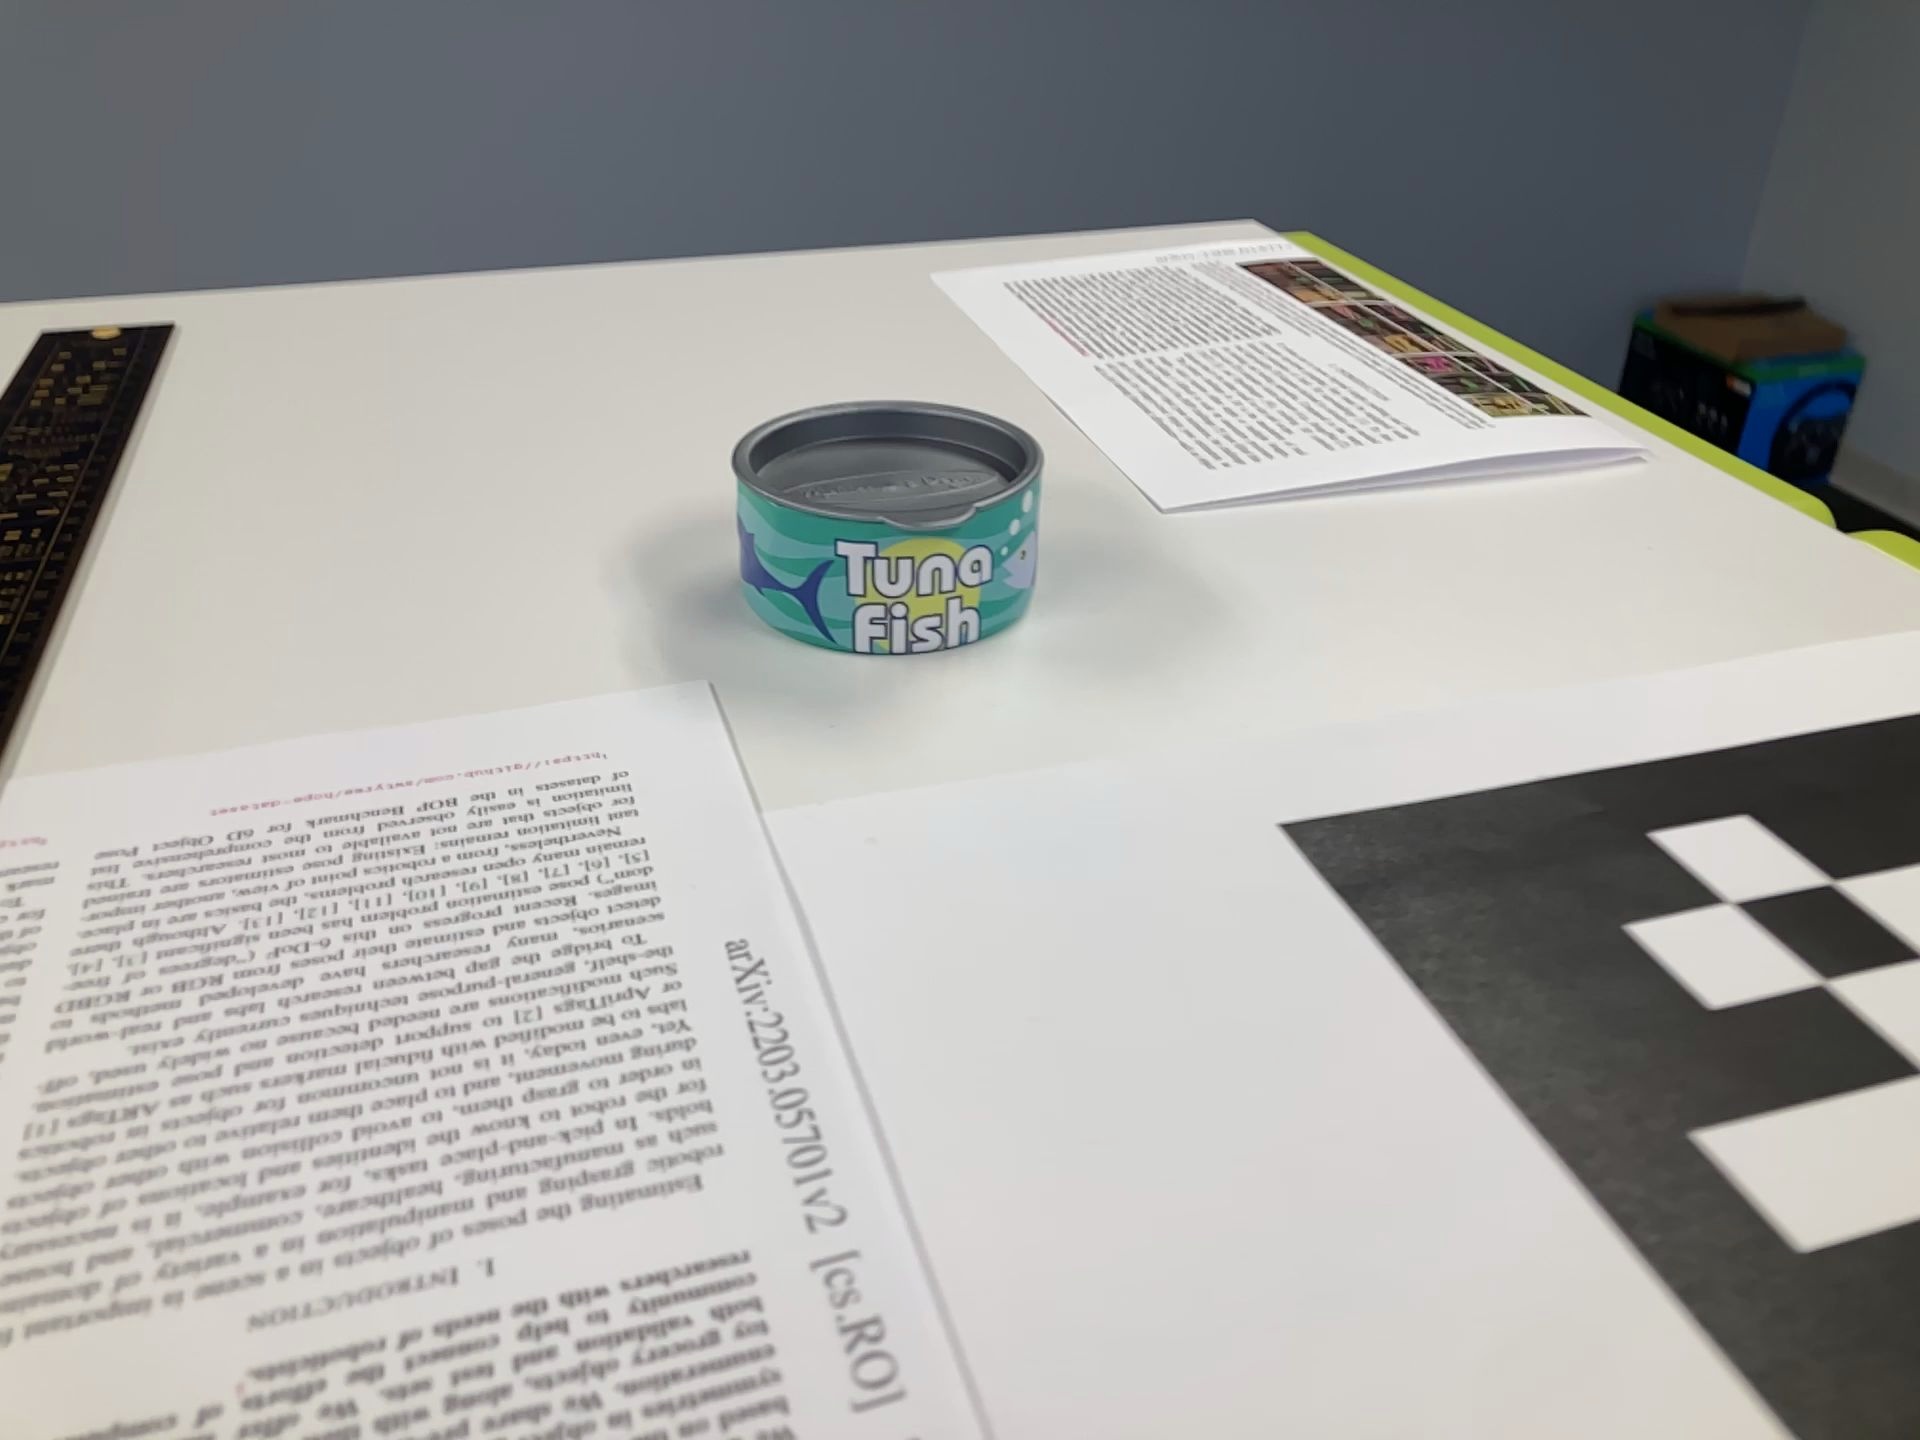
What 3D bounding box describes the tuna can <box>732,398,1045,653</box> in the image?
[{"bbox_3d":[-0.015,-0.042,0.341,0.071,0.033,0.071,1,31,-1],"label":"tuna can"}]
